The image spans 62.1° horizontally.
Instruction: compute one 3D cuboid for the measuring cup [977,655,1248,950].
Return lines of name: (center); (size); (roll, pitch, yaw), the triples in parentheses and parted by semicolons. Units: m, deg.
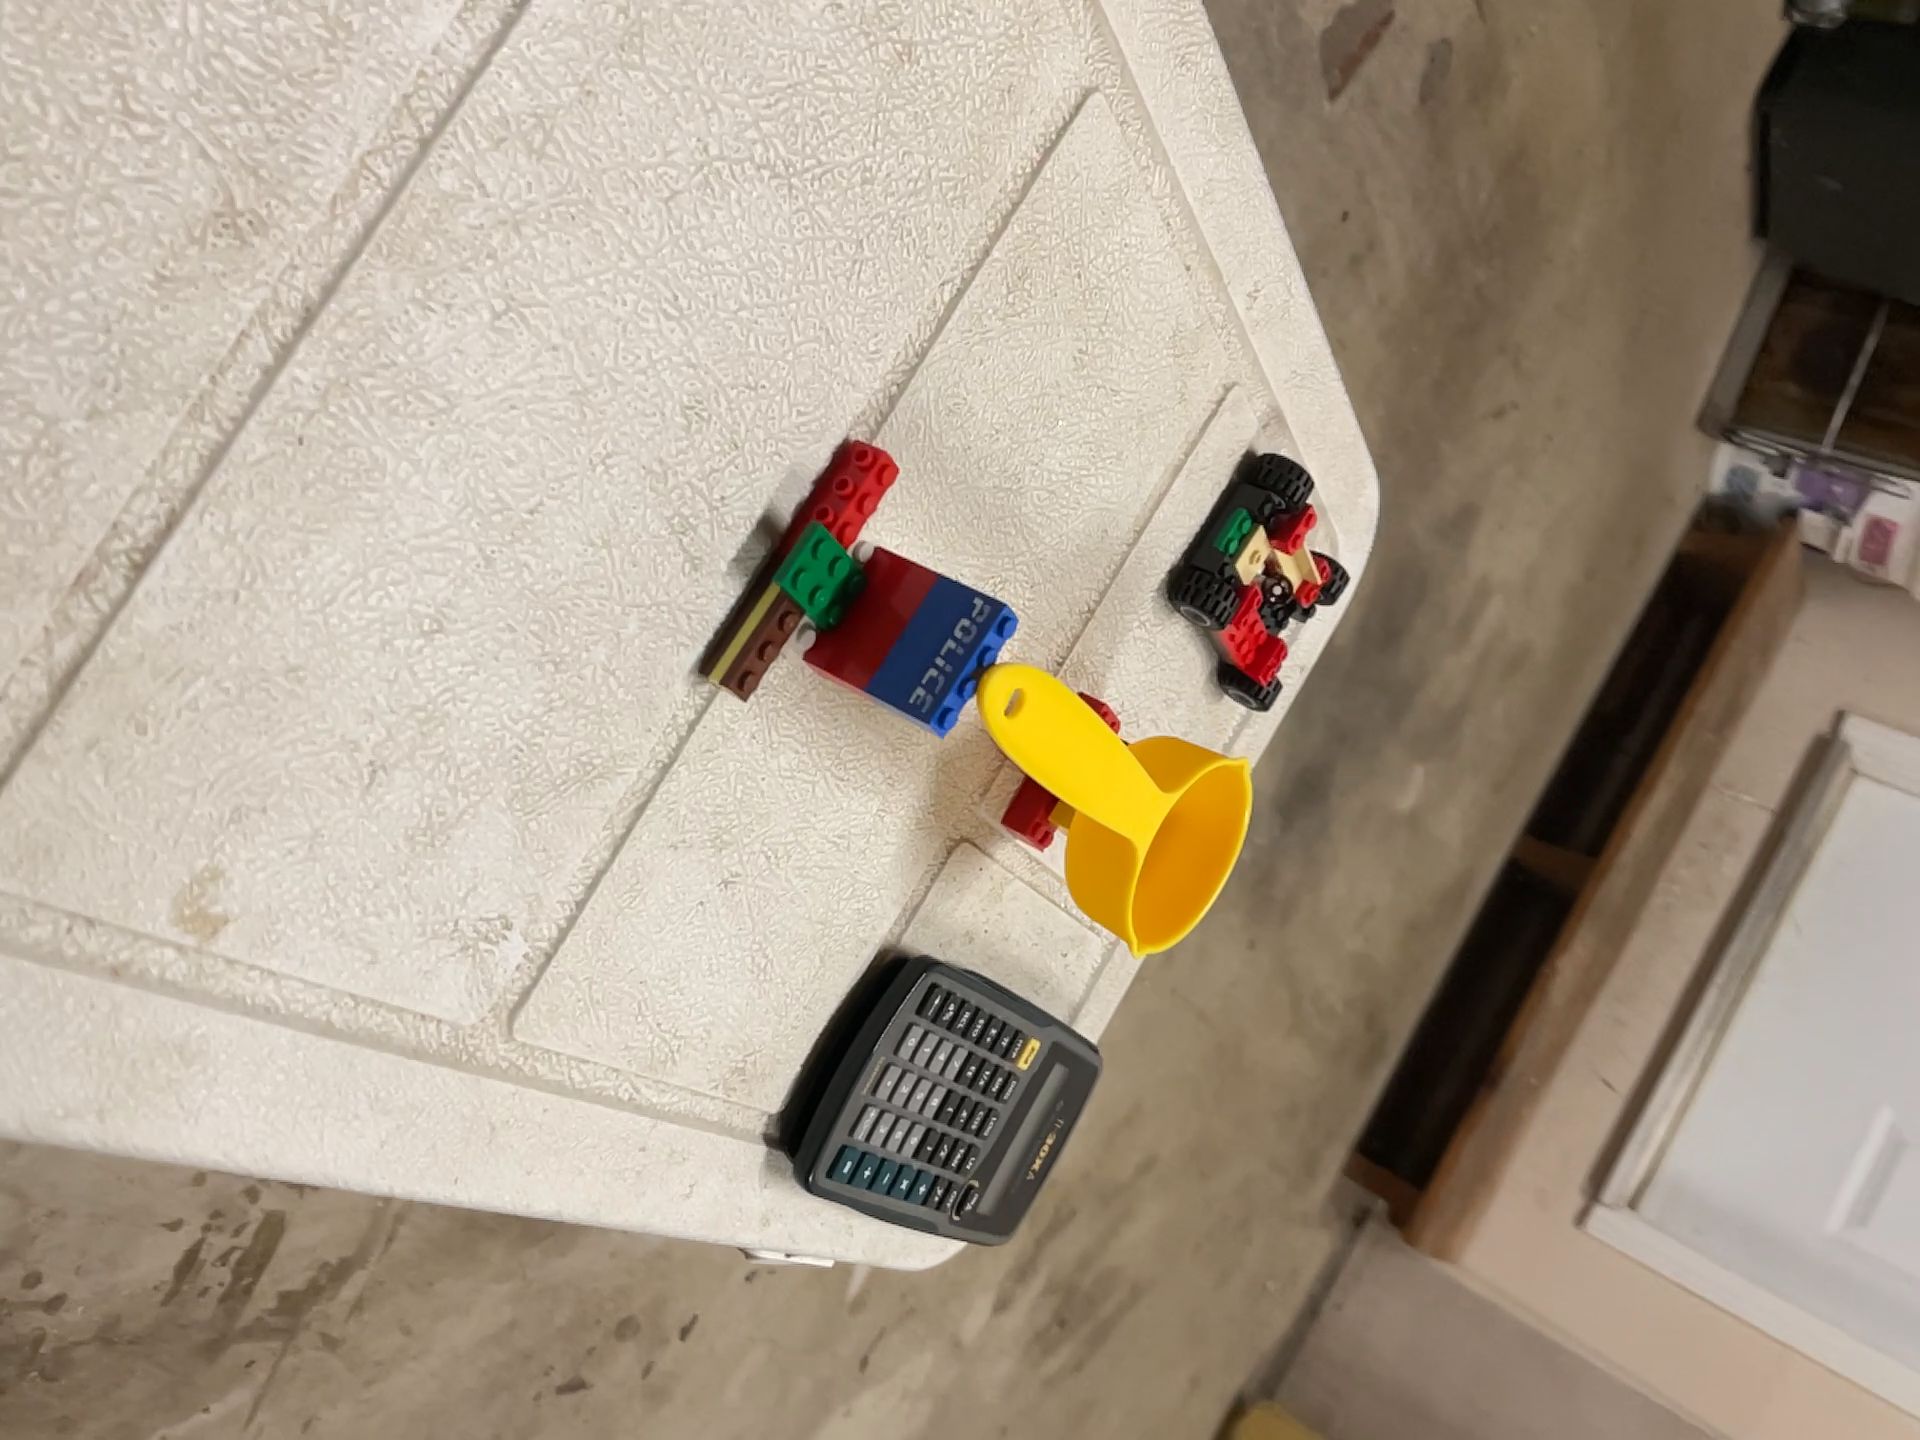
measuring cup: (0.033, 0.015, 0.418); (0.062, 0.029, 0.156); (-59, 144, -6)
